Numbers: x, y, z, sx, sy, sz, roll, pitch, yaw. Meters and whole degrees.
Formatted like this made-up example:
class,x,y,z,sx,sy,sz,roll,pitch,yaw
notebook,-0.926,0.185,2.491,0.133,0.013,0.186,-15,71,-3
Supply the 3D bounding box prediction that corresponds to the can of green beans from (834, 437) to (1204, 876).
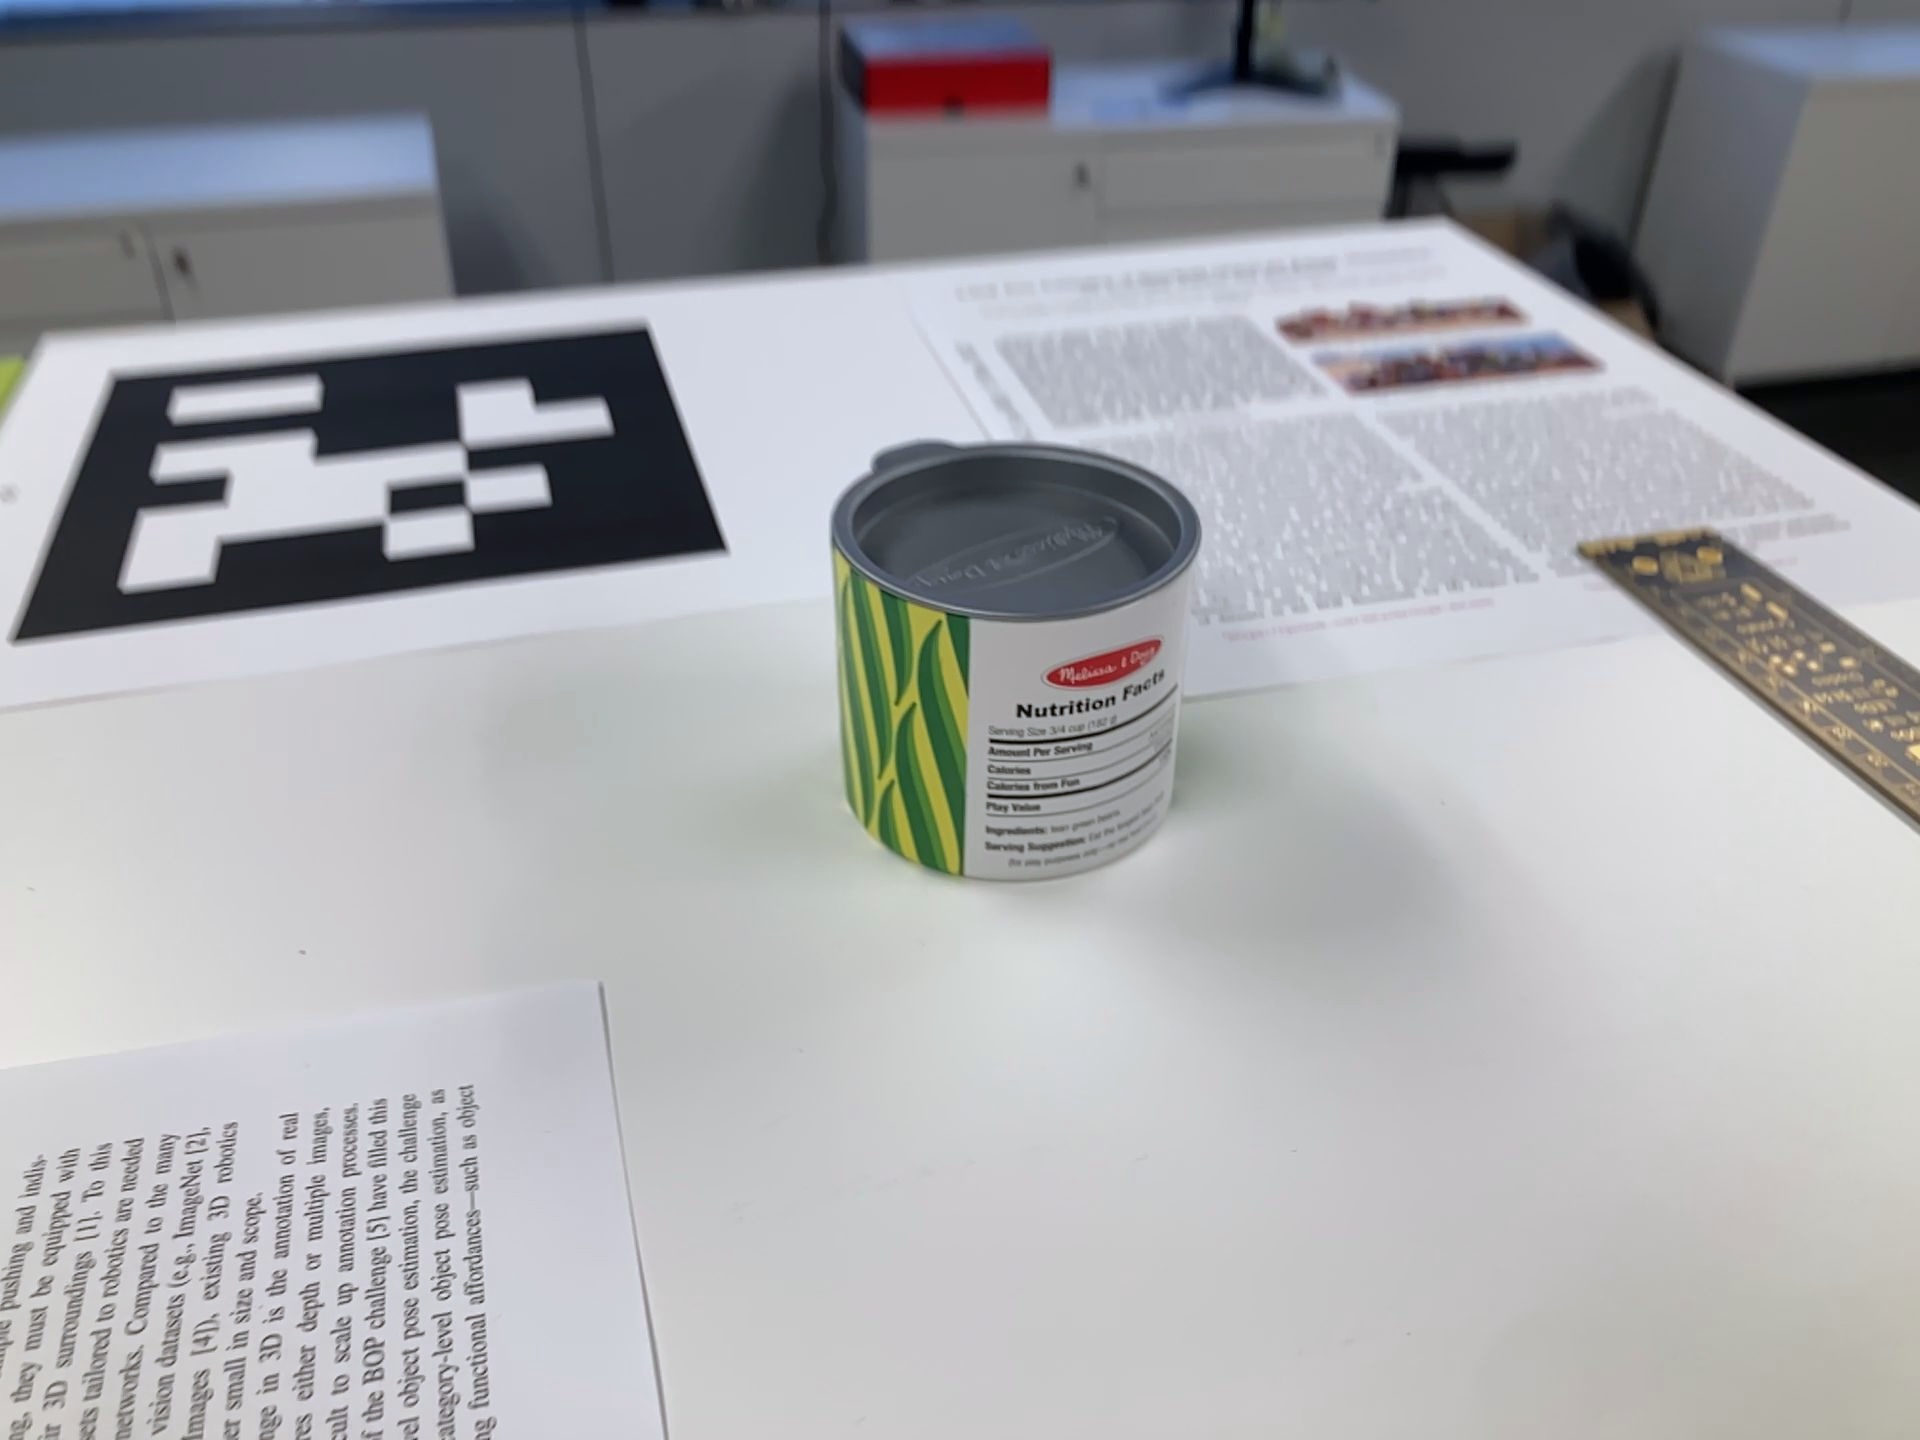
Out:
class,x,y,z,sx,sy,sz,roll,pitch,yaw
can of green beans,0.010,-0.013,0.303,0.071,0.058,0.071,1,34,-1
